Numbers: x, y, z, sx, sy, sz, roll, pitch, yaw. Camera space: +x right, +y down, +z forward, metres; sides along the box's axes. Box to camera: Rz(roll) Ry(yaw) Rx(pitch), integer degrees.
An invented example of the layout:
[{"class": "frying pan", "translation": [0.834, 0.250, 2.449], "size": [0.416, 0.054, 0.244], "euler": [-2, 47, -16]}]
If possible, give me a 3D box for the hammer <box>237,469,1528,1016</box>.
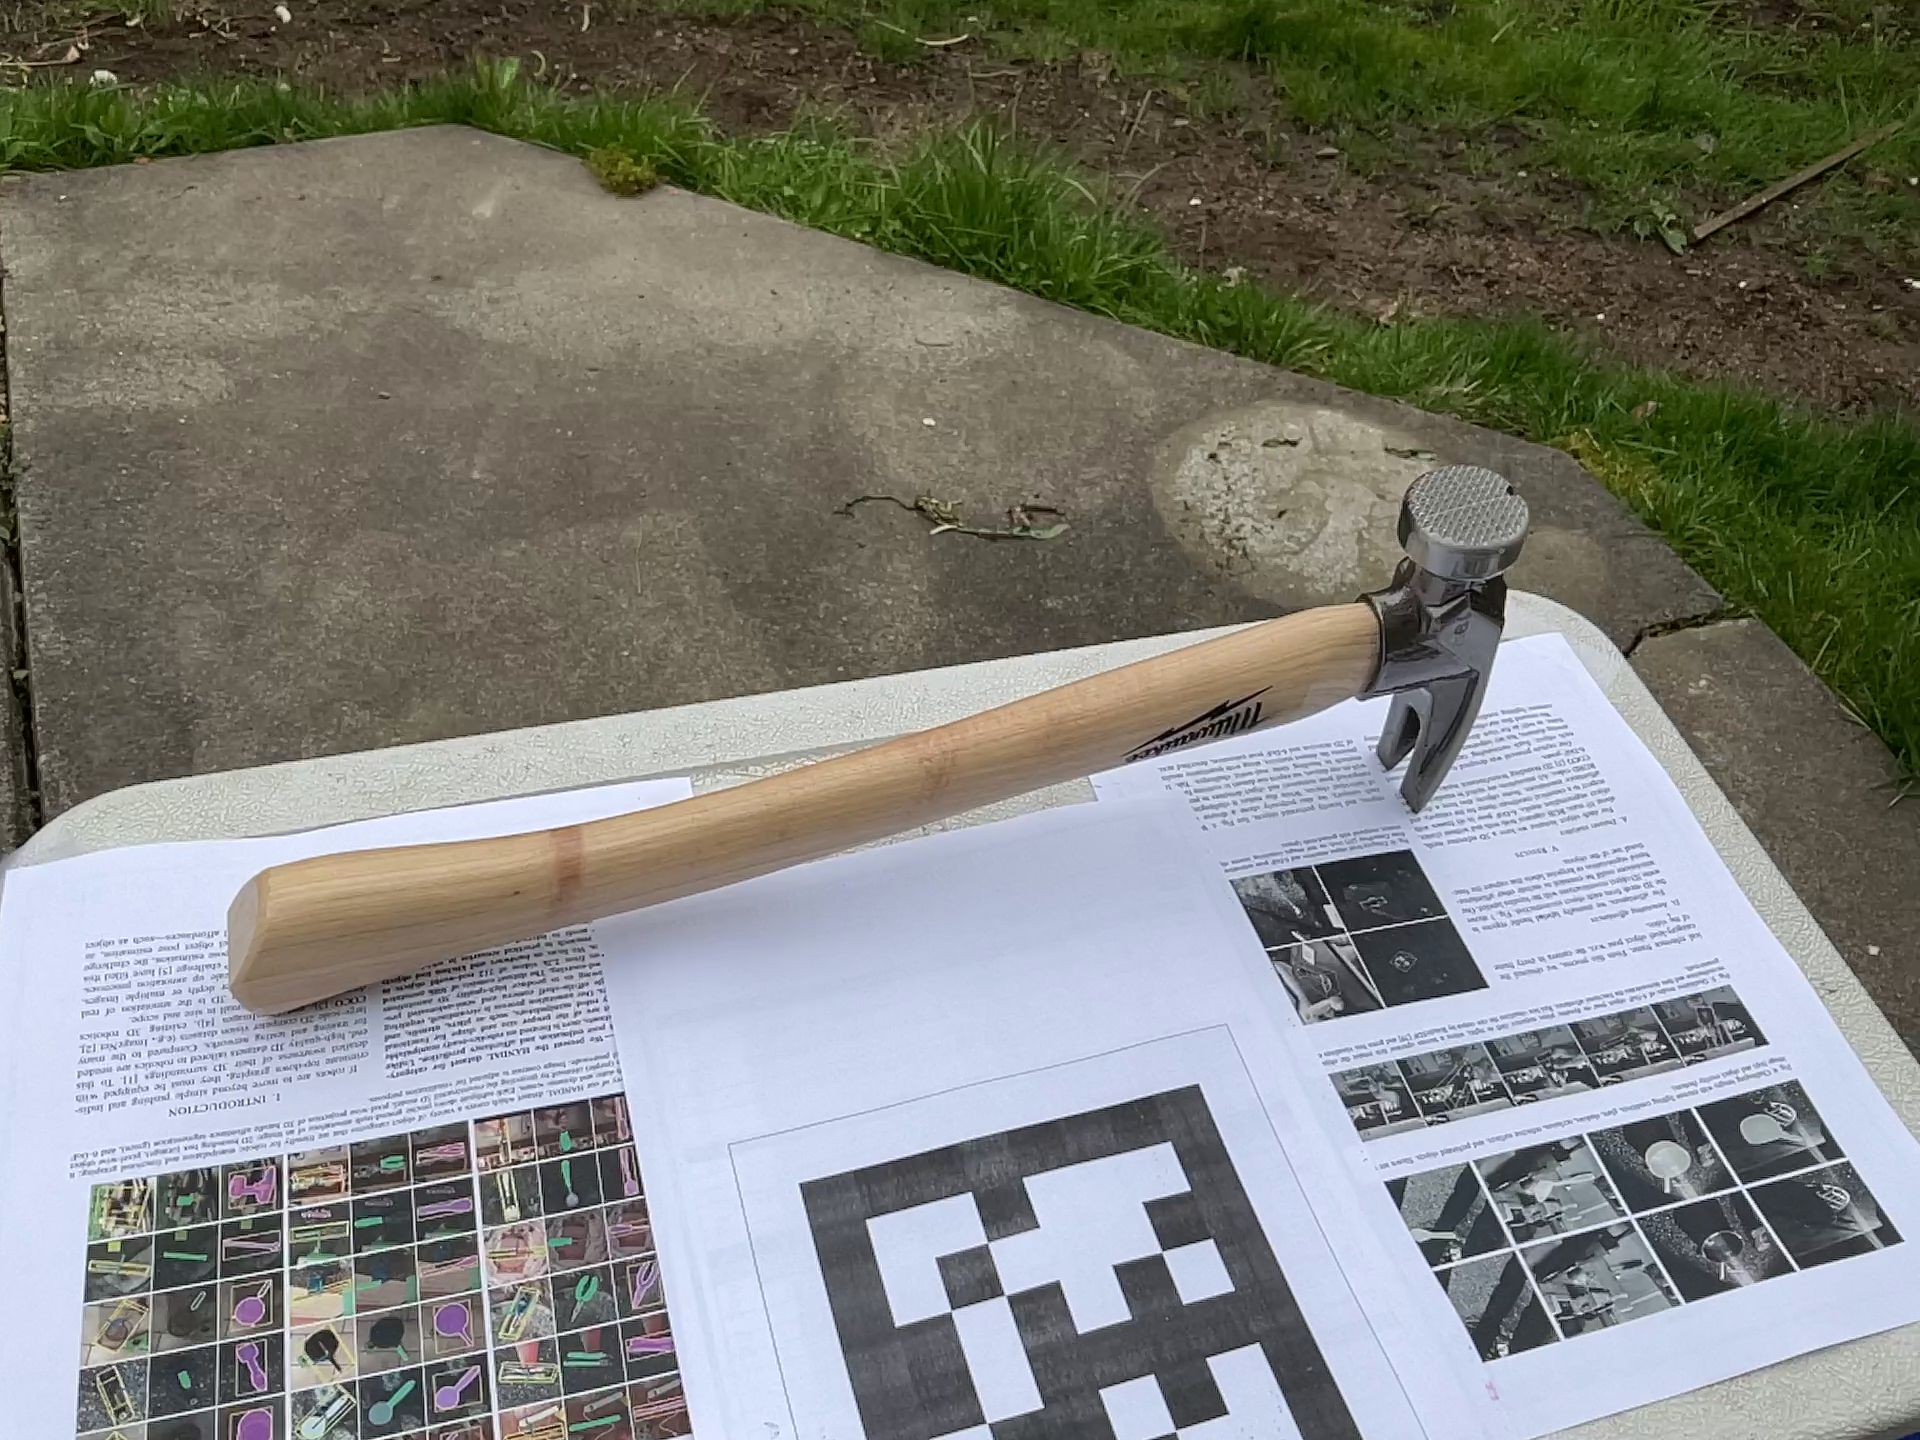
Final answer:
[{"class": "hammer", "translation": [-0.019, 0.028, 0.521], "size": [0.410, 0.146, 0.038], "euler": [-15, 52, -8]}]
